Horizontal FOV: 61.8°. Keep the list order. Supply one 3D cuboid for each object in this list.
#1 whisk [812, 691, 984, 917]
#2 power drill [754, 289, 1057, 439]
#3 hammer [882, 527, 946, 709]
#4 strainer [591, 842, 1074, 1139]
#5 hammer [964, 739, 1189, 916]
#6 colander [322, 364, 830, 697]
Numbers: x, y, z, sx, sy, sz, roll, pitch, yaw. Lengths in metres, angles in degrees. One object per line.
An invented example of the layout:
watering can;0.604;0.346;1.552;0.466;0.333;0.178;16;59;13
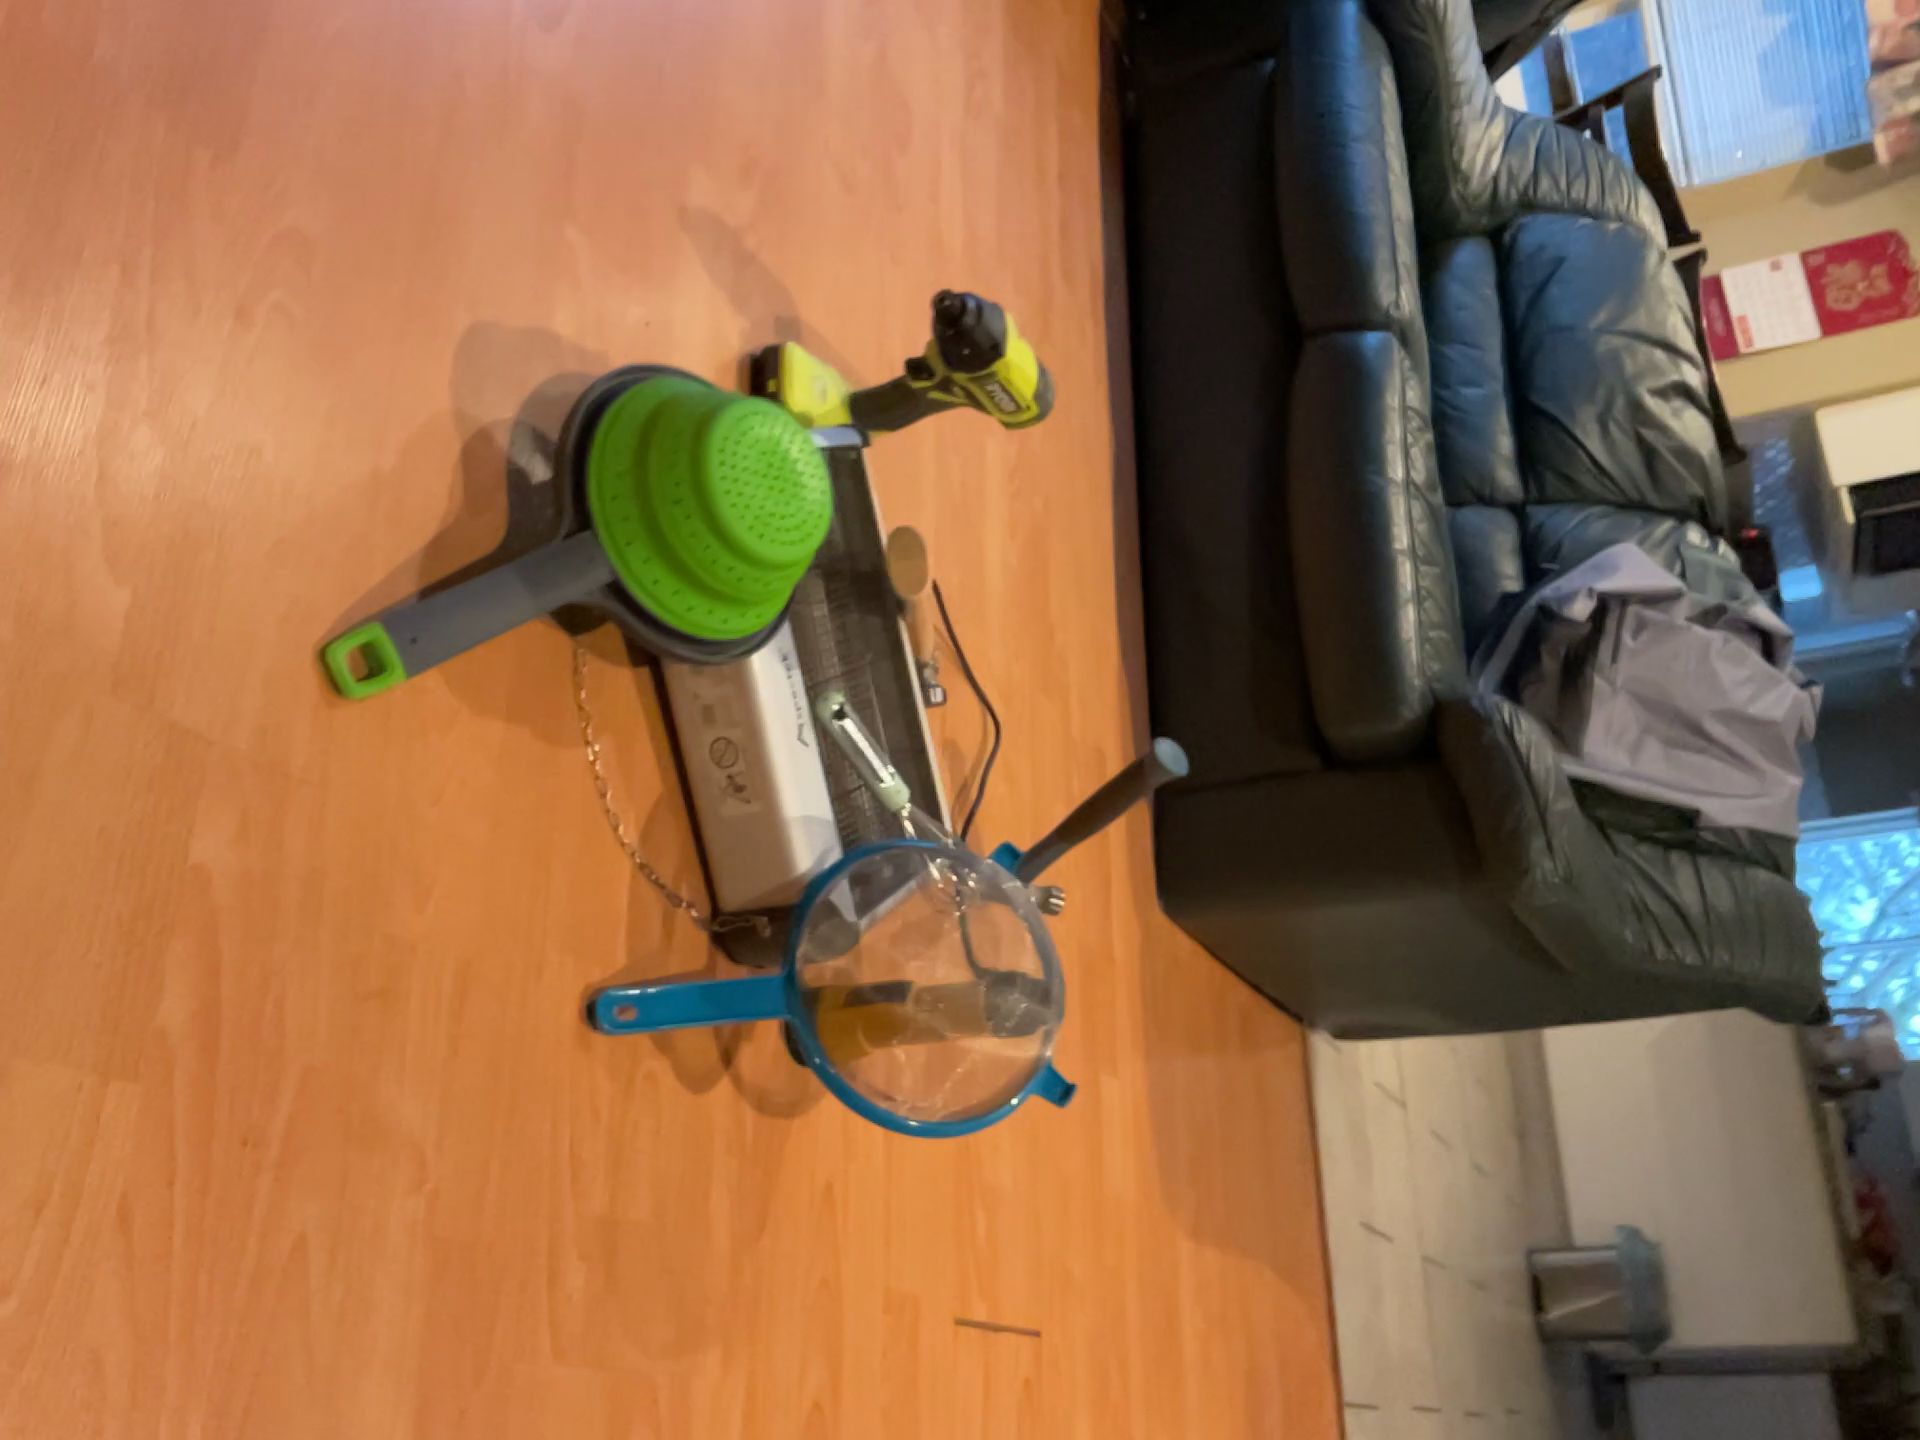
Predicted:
whisk;-0.045;0.067;1.219;0.058;0.059;0.246;-51;130;-23
power drill;-0.052;-0.283;1.334;0.171;0.223;0.080;35;48;-59
hammer;-0.040;-0.105;1.327;0.410;0.038;0.146;90;-7;-83
strainer;-0.063;0.167;1.050;0.340;0.095;0.211;0;65;-31
hammer;0.108;0.100;1.468;0.128;0.330;0.033;16;57;-20
colander;-0.197;-0.109;0.971;0.397;0.094;0.204;-36;107;-47
